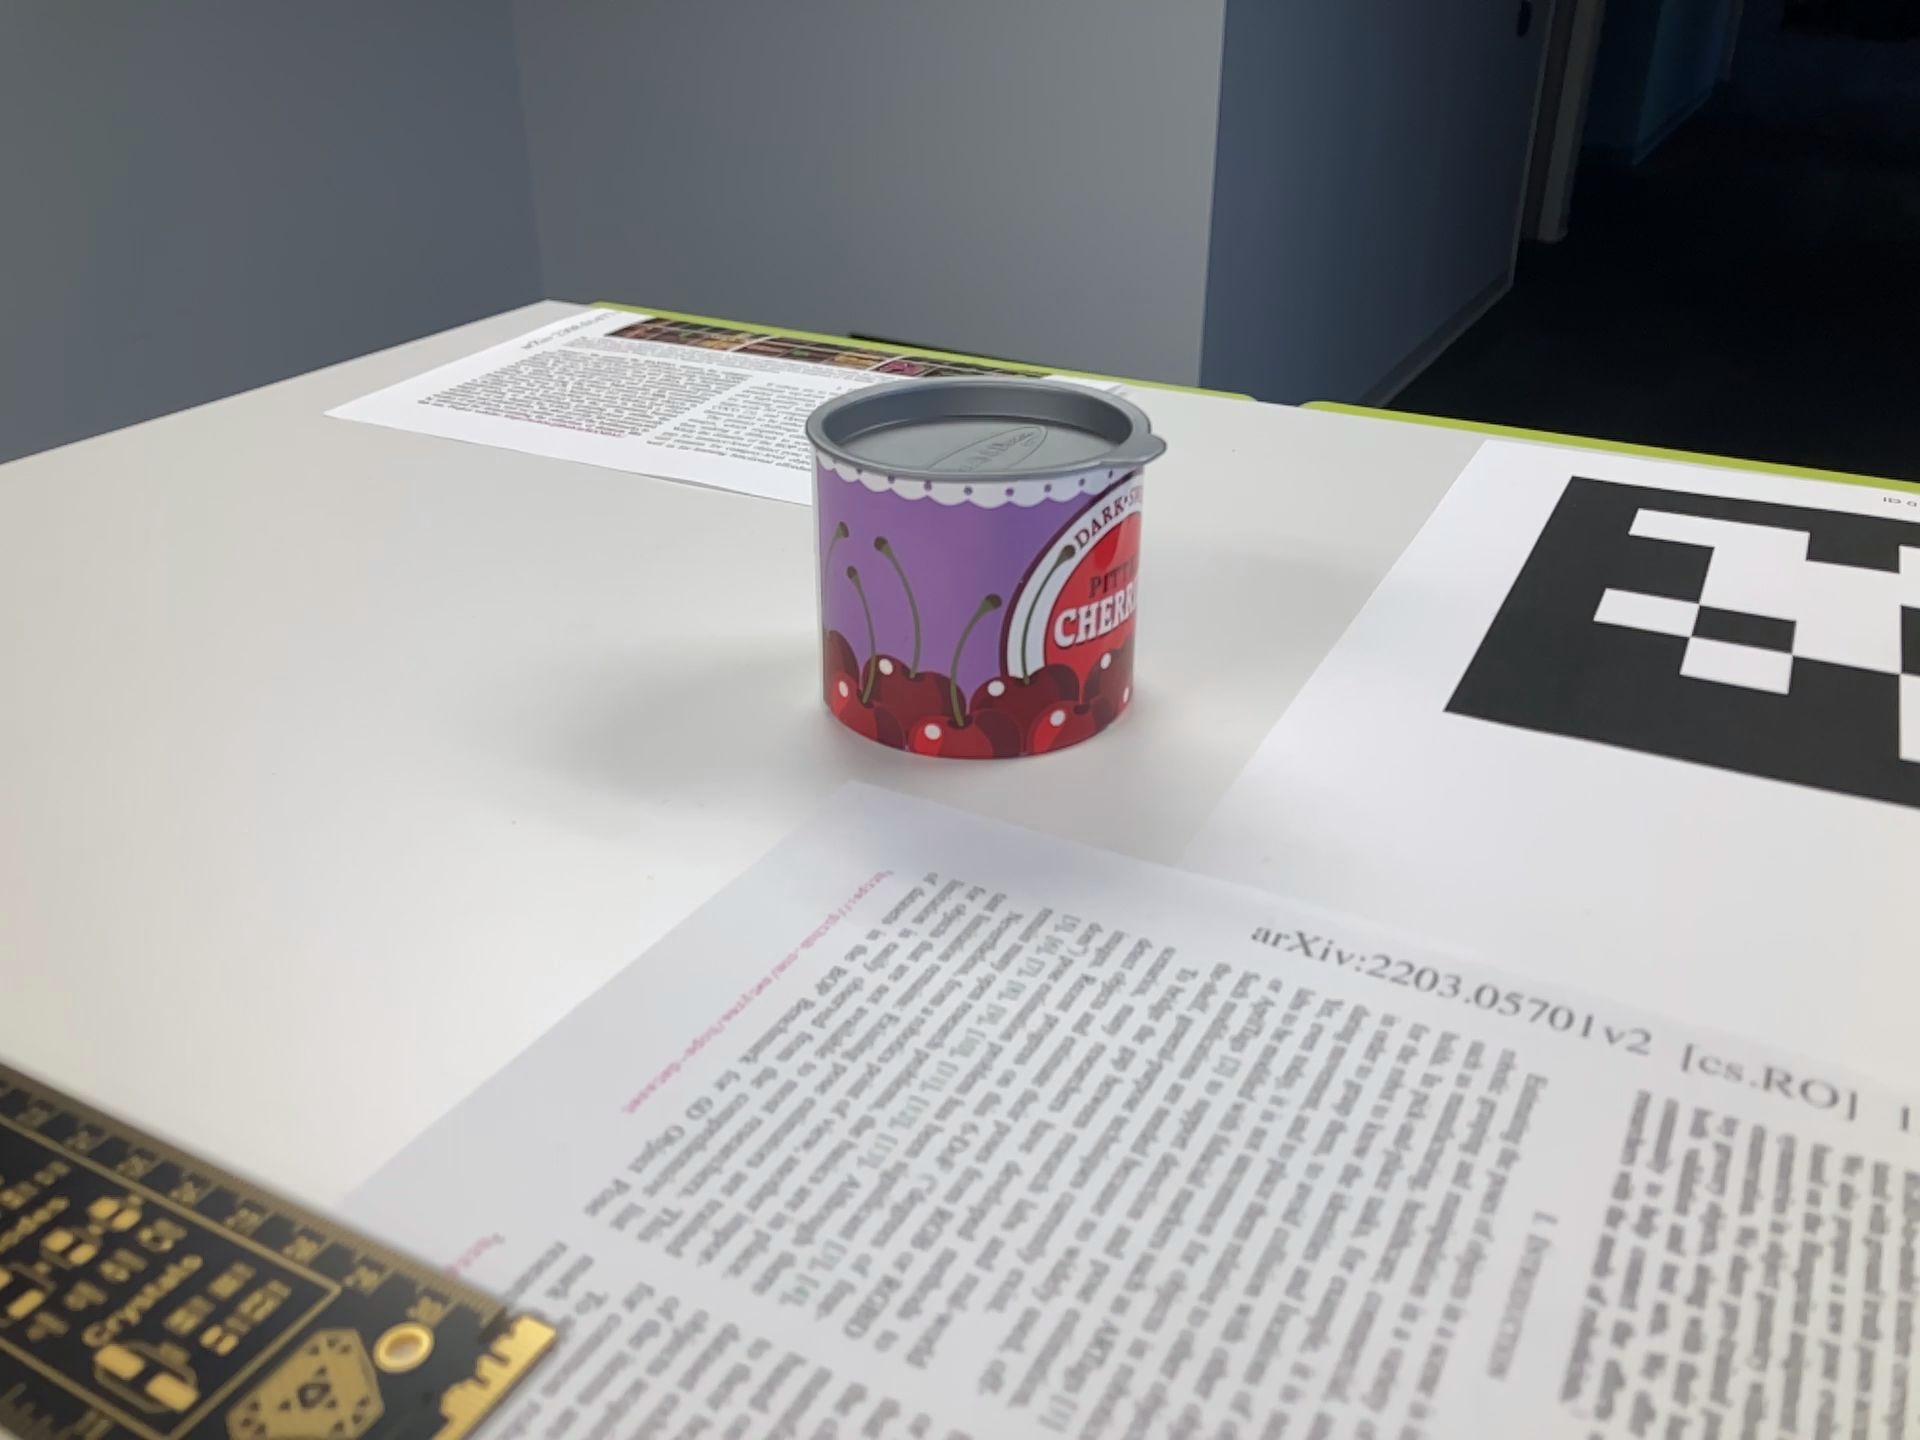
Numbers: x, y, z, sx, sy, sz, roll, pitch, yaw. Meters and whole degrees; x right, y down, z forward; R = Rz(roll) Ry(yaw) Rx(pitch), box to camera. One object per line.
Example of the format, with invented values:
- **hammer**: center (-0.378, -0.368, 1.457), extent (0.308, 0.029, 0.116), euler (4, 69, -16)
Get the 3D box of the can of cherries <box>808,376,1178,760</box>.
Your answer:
- **can of cherries**: center (0.006, -0.031, 0.315), extent (0.071, 0.058, 0.071), euler (0, 27, 0)
